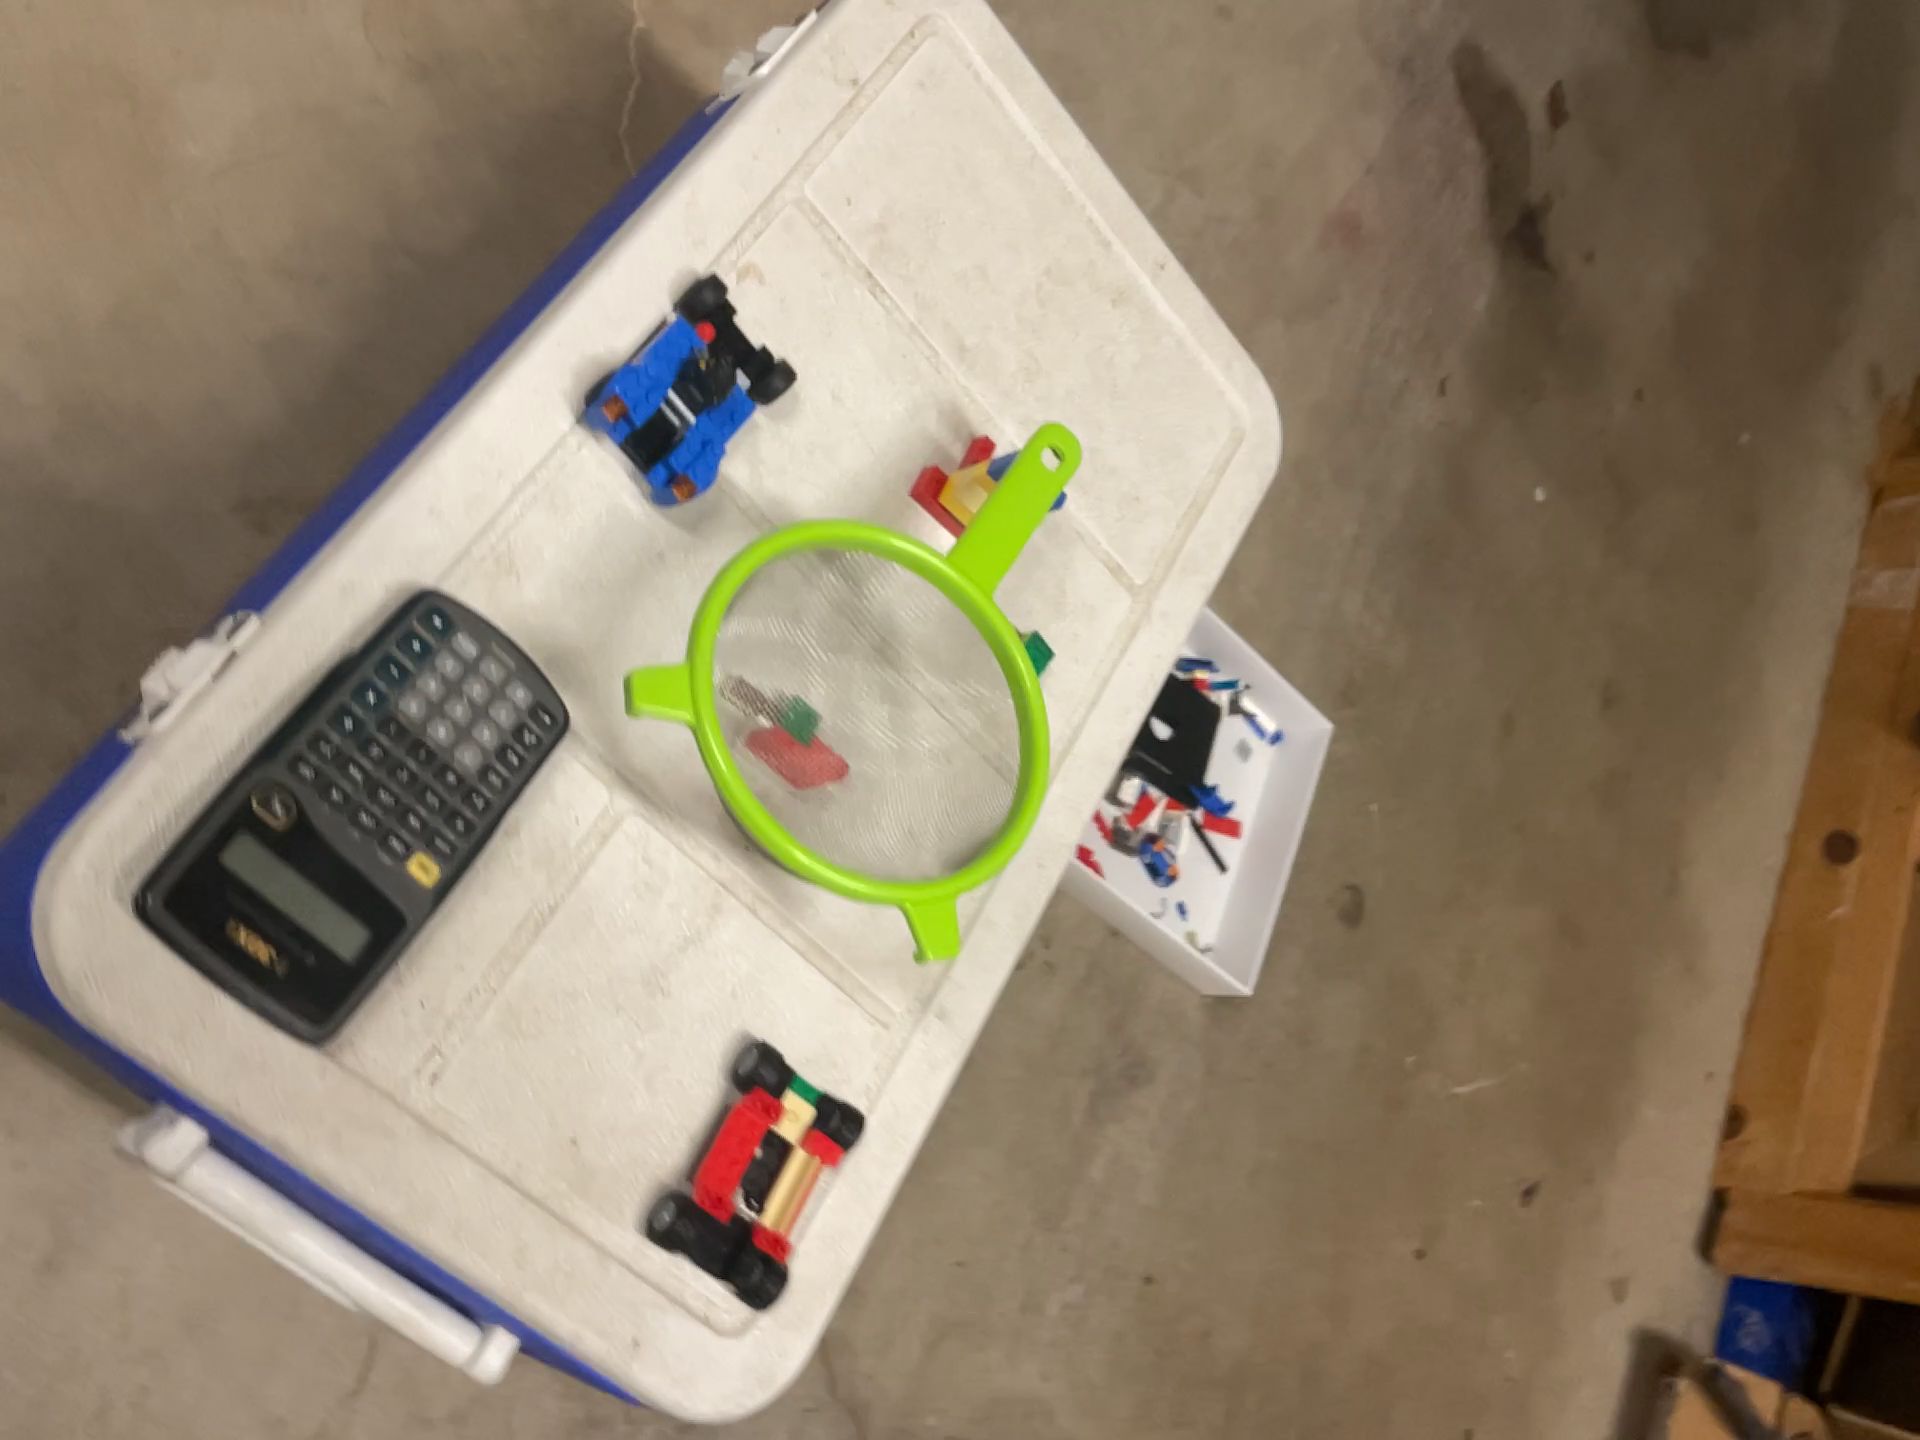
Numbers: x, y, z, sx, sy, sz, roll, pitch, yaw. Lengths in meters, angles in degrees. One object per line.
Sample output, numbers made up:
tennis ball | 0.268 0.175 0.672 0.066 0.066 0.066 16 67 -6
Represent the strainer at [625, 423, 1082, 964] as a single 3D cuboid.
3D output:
strainer | -0.022 -0.031 0.641 0.151 0.069 0.257 42 51 -11
